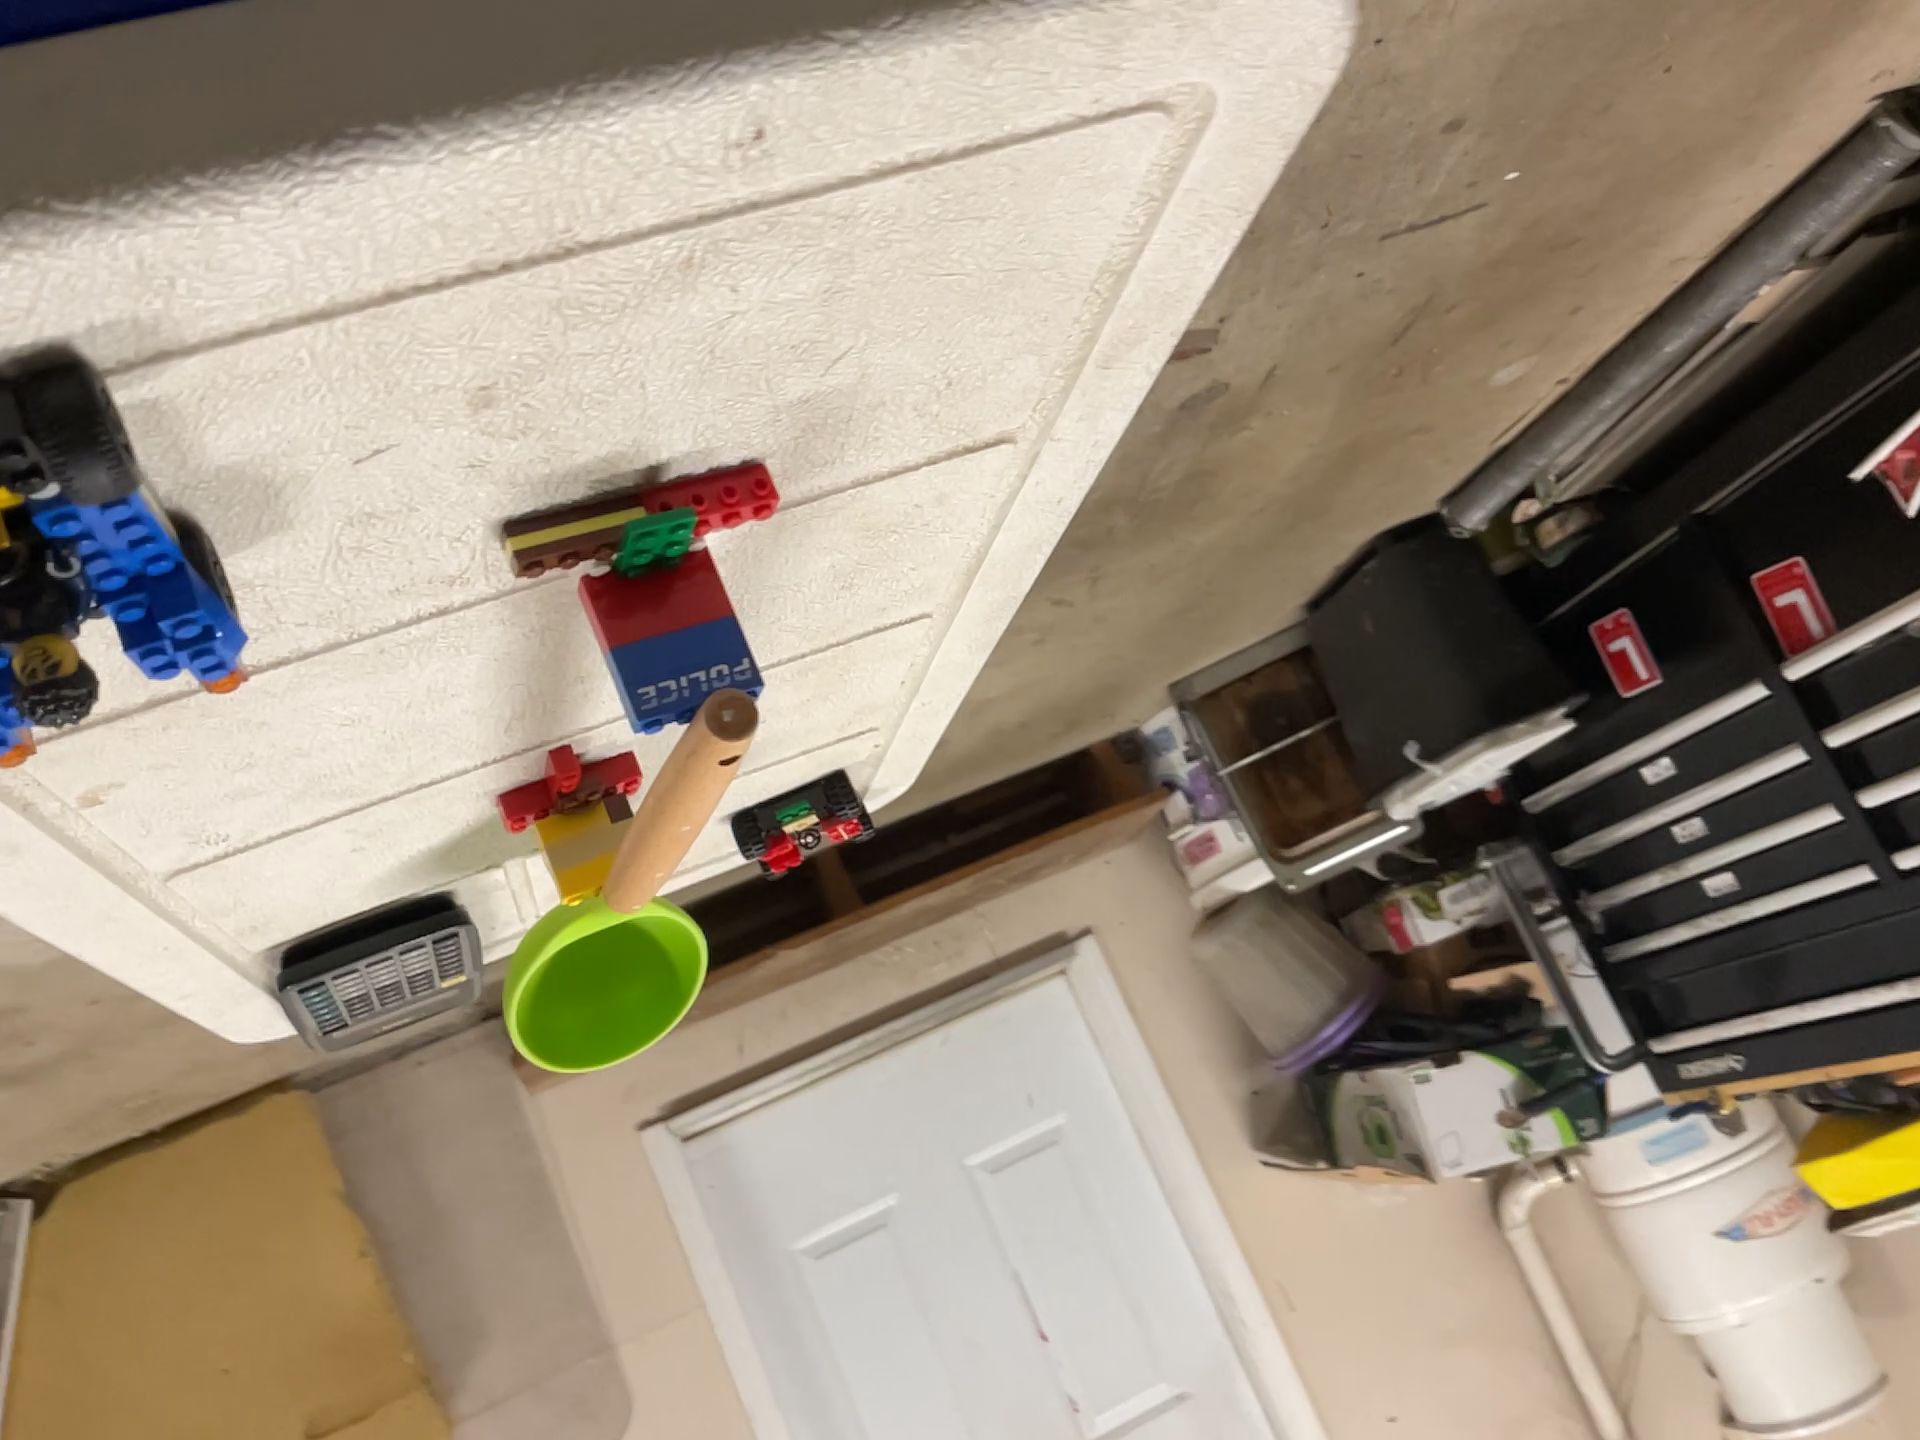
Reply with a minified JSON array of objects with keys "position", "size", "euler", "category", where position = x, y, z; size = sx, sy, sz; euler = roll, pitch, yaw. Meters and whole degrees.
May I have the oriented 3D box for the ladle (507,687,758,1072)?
[{"position":[-0.097,0.059,0.499],"size":[0.078,0.062,0.320],"euler":[-18,168,-24],"category":"ladle"}]
